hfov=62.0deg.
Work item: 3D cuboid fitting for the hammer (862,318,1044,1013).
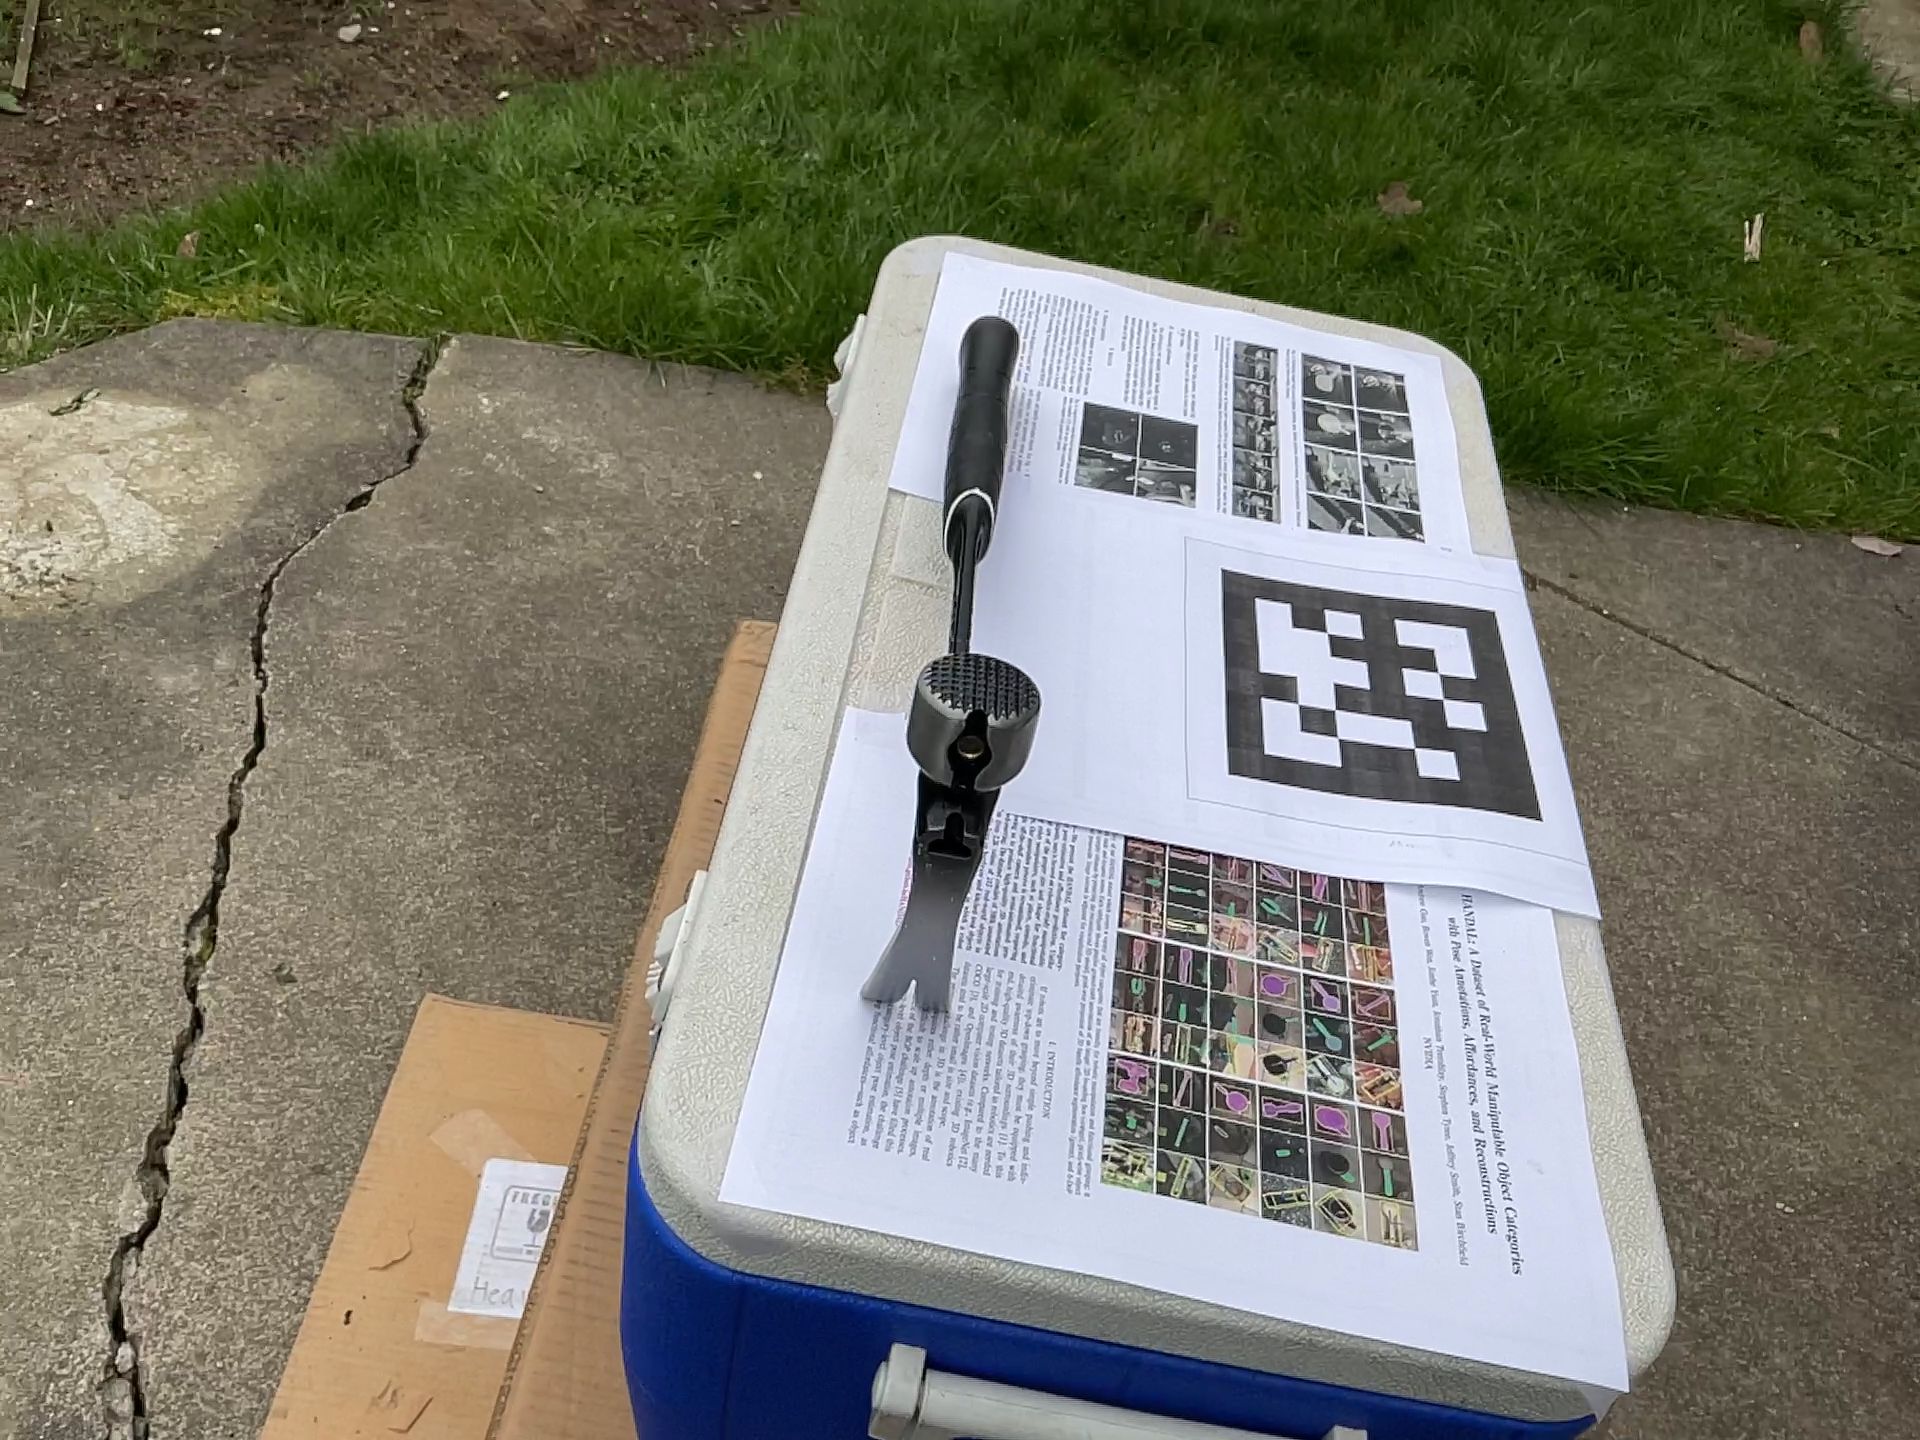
[{"bbox_3d":[0.004,-0.061,0.639,0.036,0.149,0.409,10,36,-3],"label":"hammer"}]
